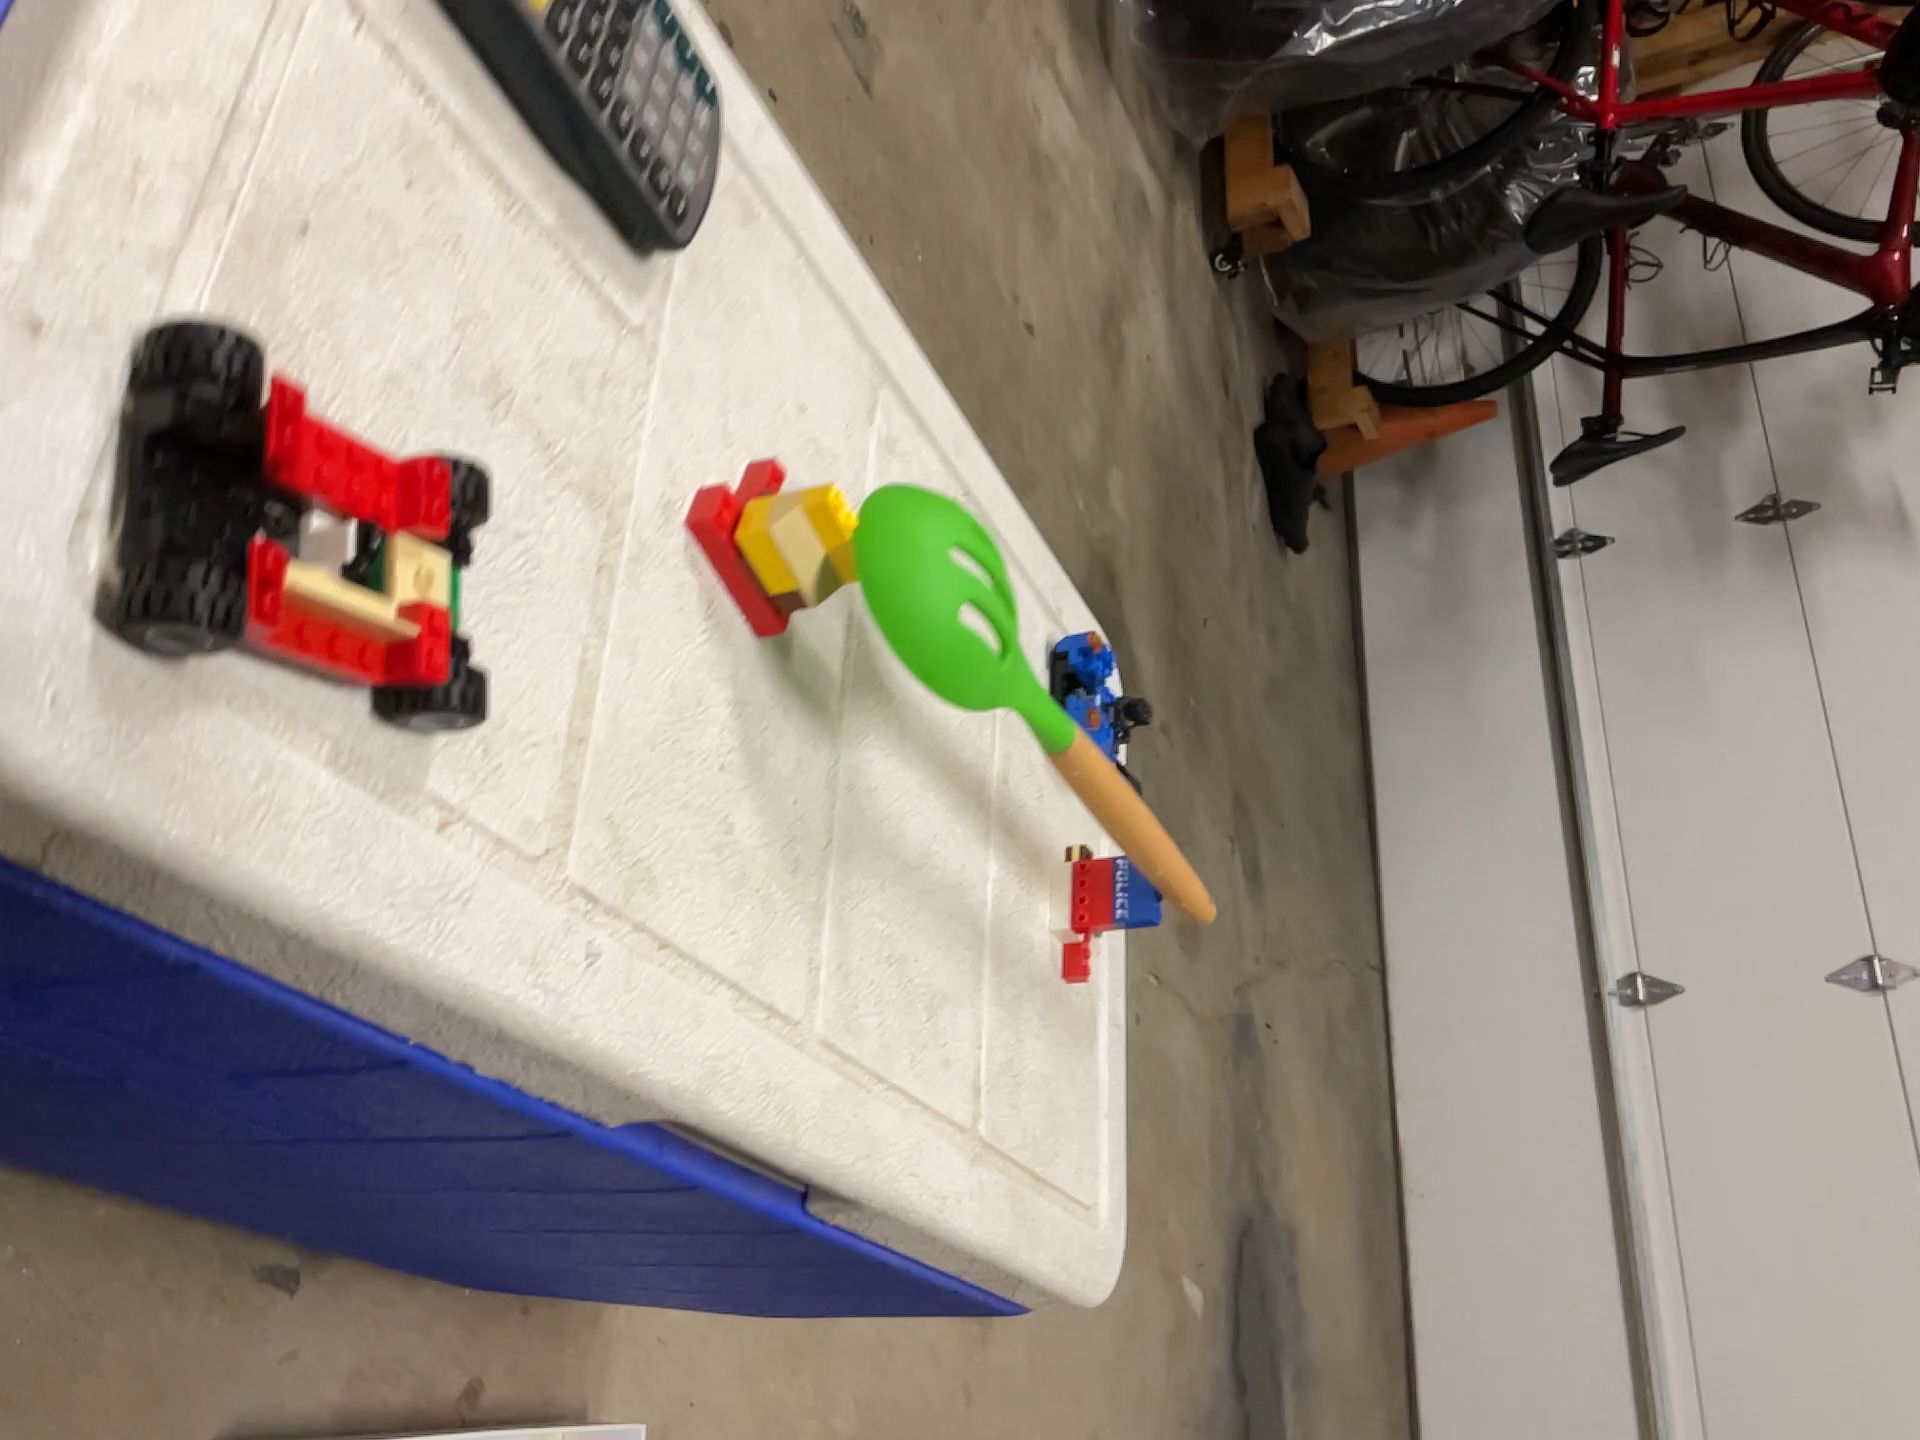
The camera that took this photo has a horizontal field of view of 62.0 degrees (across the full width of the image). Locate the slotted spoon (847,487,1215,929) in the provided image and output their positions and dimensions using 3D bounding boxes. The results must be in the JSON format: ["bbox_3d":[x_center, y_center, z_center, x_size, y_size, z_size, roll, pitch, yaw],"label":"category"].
[{"bbox_3d":[0.044,0.015,0.583,0.313,0.031,0.070,48,38,-53],"label":"slotted spoon"}]
